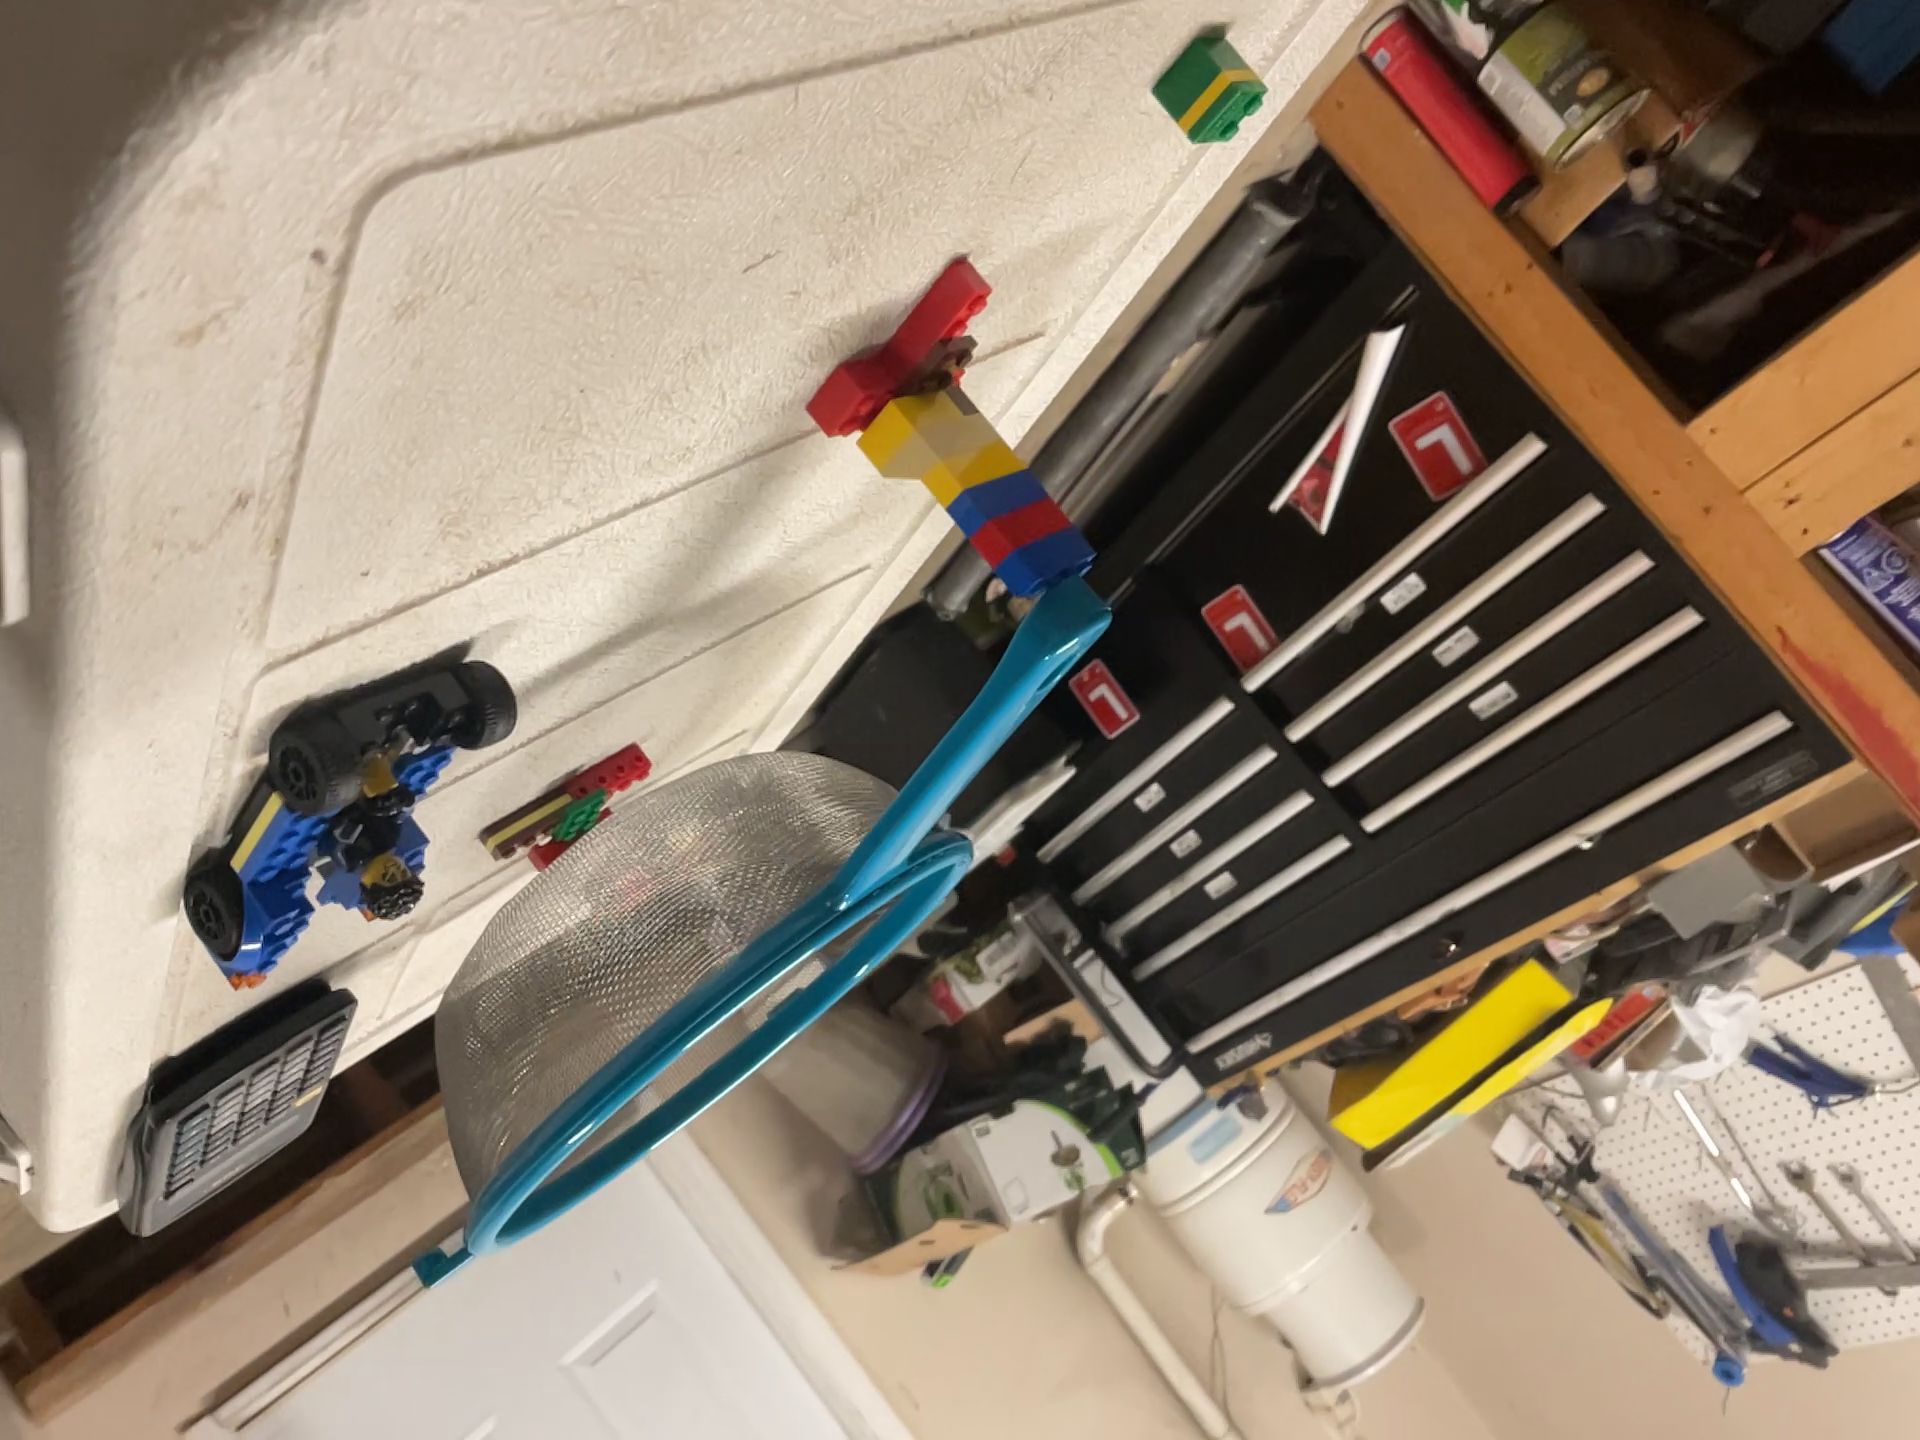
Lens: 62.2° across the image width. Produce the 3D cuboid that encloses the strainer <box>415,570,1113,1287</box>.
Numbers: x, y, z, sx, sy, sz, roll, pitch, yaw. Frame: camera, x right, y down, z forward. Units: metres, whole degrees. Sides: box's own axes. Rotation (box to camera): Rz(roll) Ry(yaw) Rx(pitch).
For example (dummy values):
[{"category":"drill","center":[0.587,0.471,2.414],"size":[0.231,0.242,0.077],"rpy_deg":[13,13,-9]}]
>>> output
[{"category":"strainer","center":[-0.072,0.042,0.511],"size":[0.211,0.095,0.340],"rpy_deg":[-30,164,-47]}]
